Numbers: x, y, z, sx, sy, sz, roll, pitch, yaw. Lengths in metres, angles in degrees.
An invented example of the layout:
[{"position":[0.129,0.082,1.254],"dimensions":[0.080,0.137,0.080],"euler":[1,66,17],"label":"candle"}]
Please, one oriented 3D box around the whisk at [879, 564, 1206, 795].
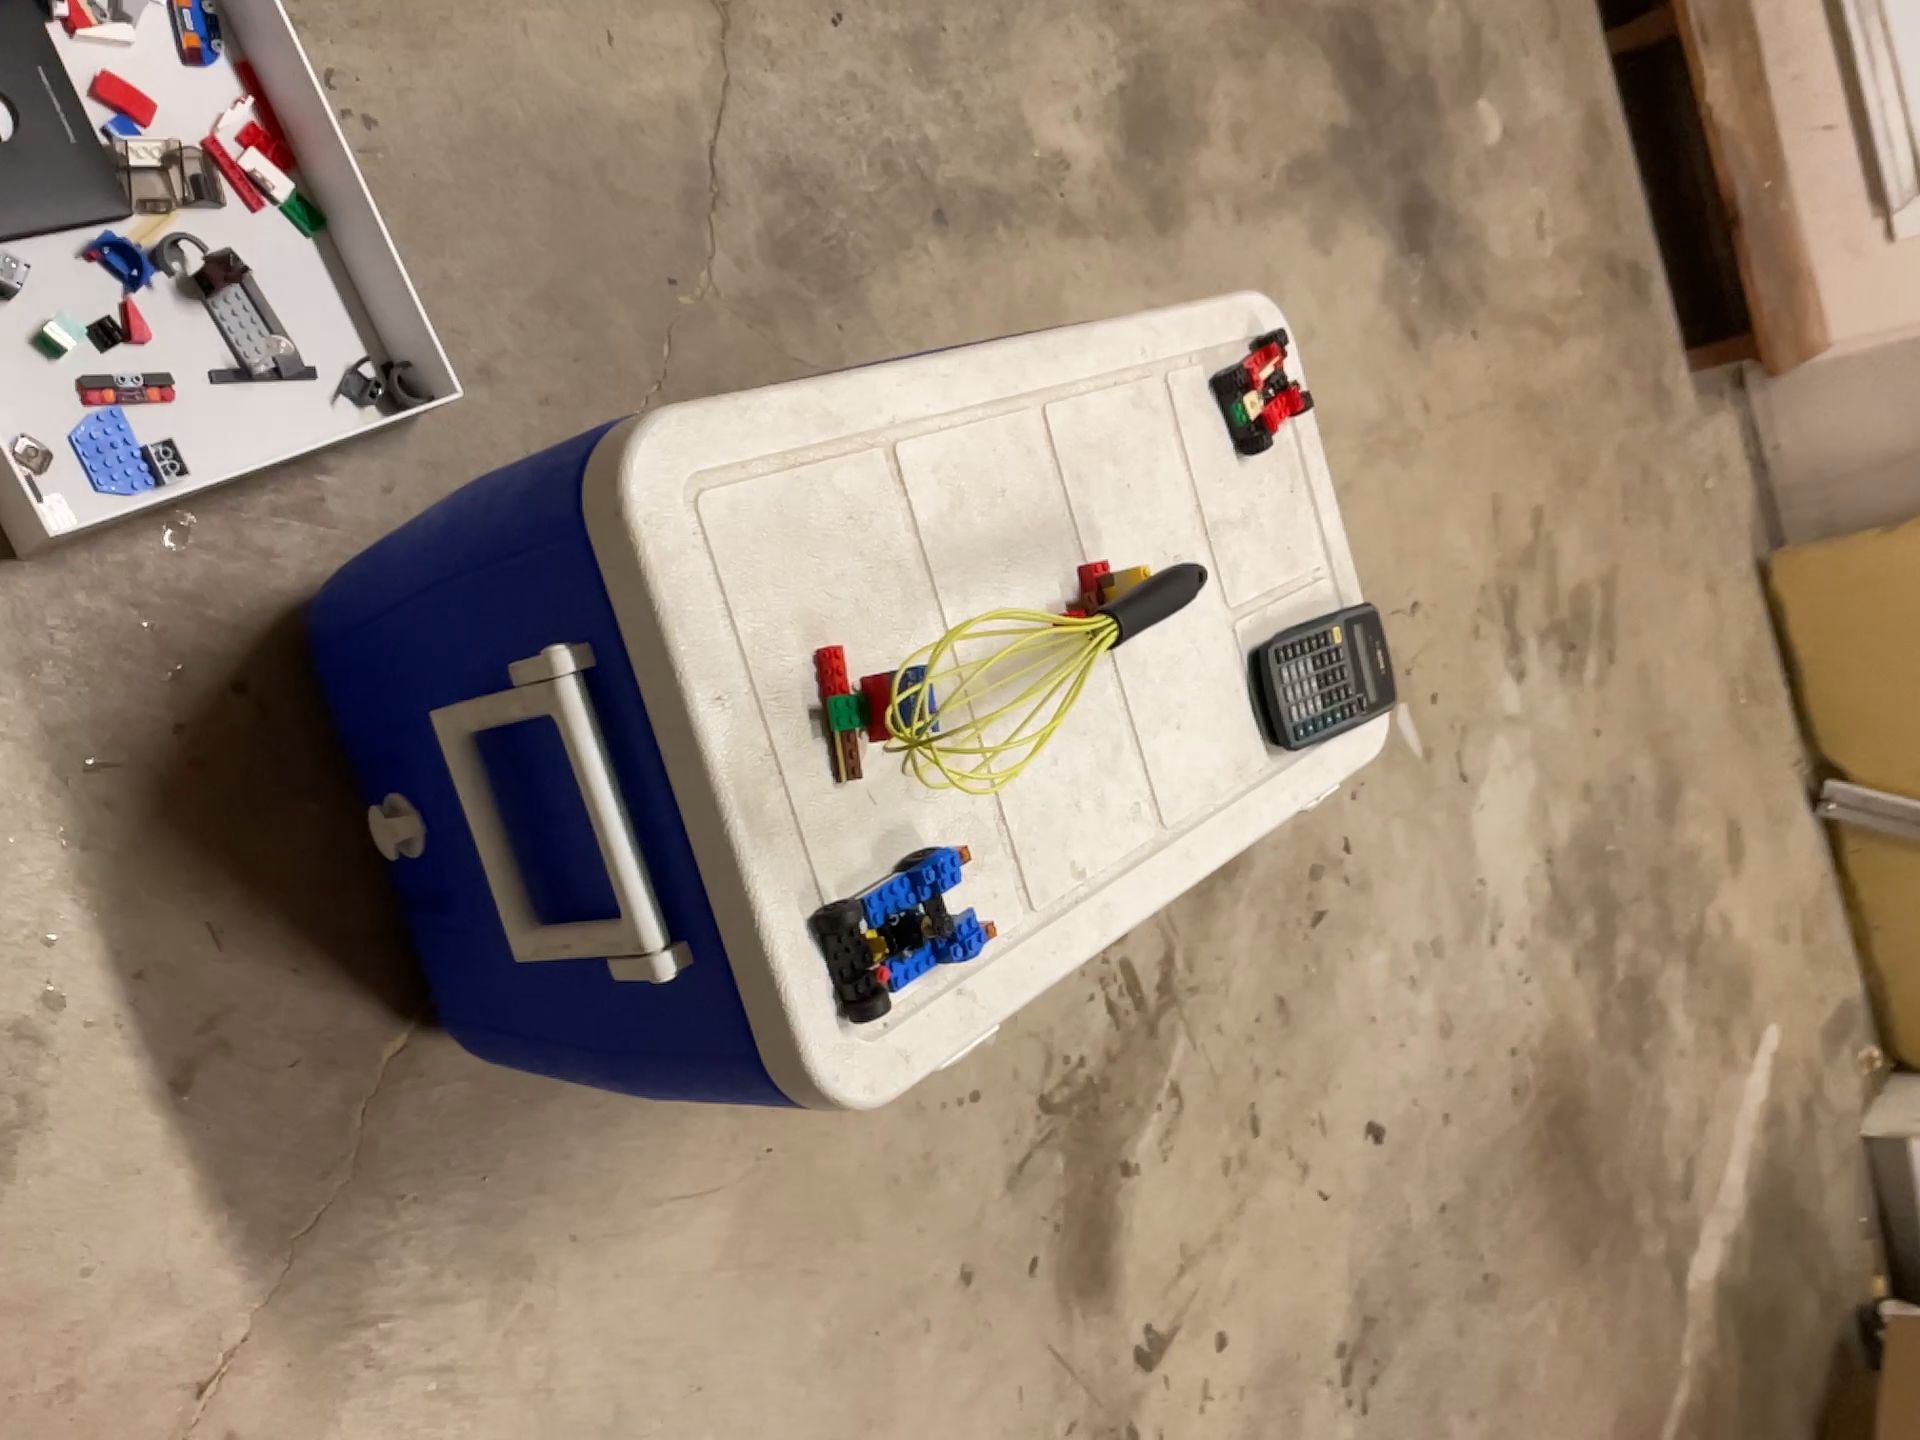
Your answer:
[{"position":[0.055,-0.037,0.780],"dimensions":[0.312,0.067,0.079],"euler":[-31,152,-54],"label":"whisk"}]
